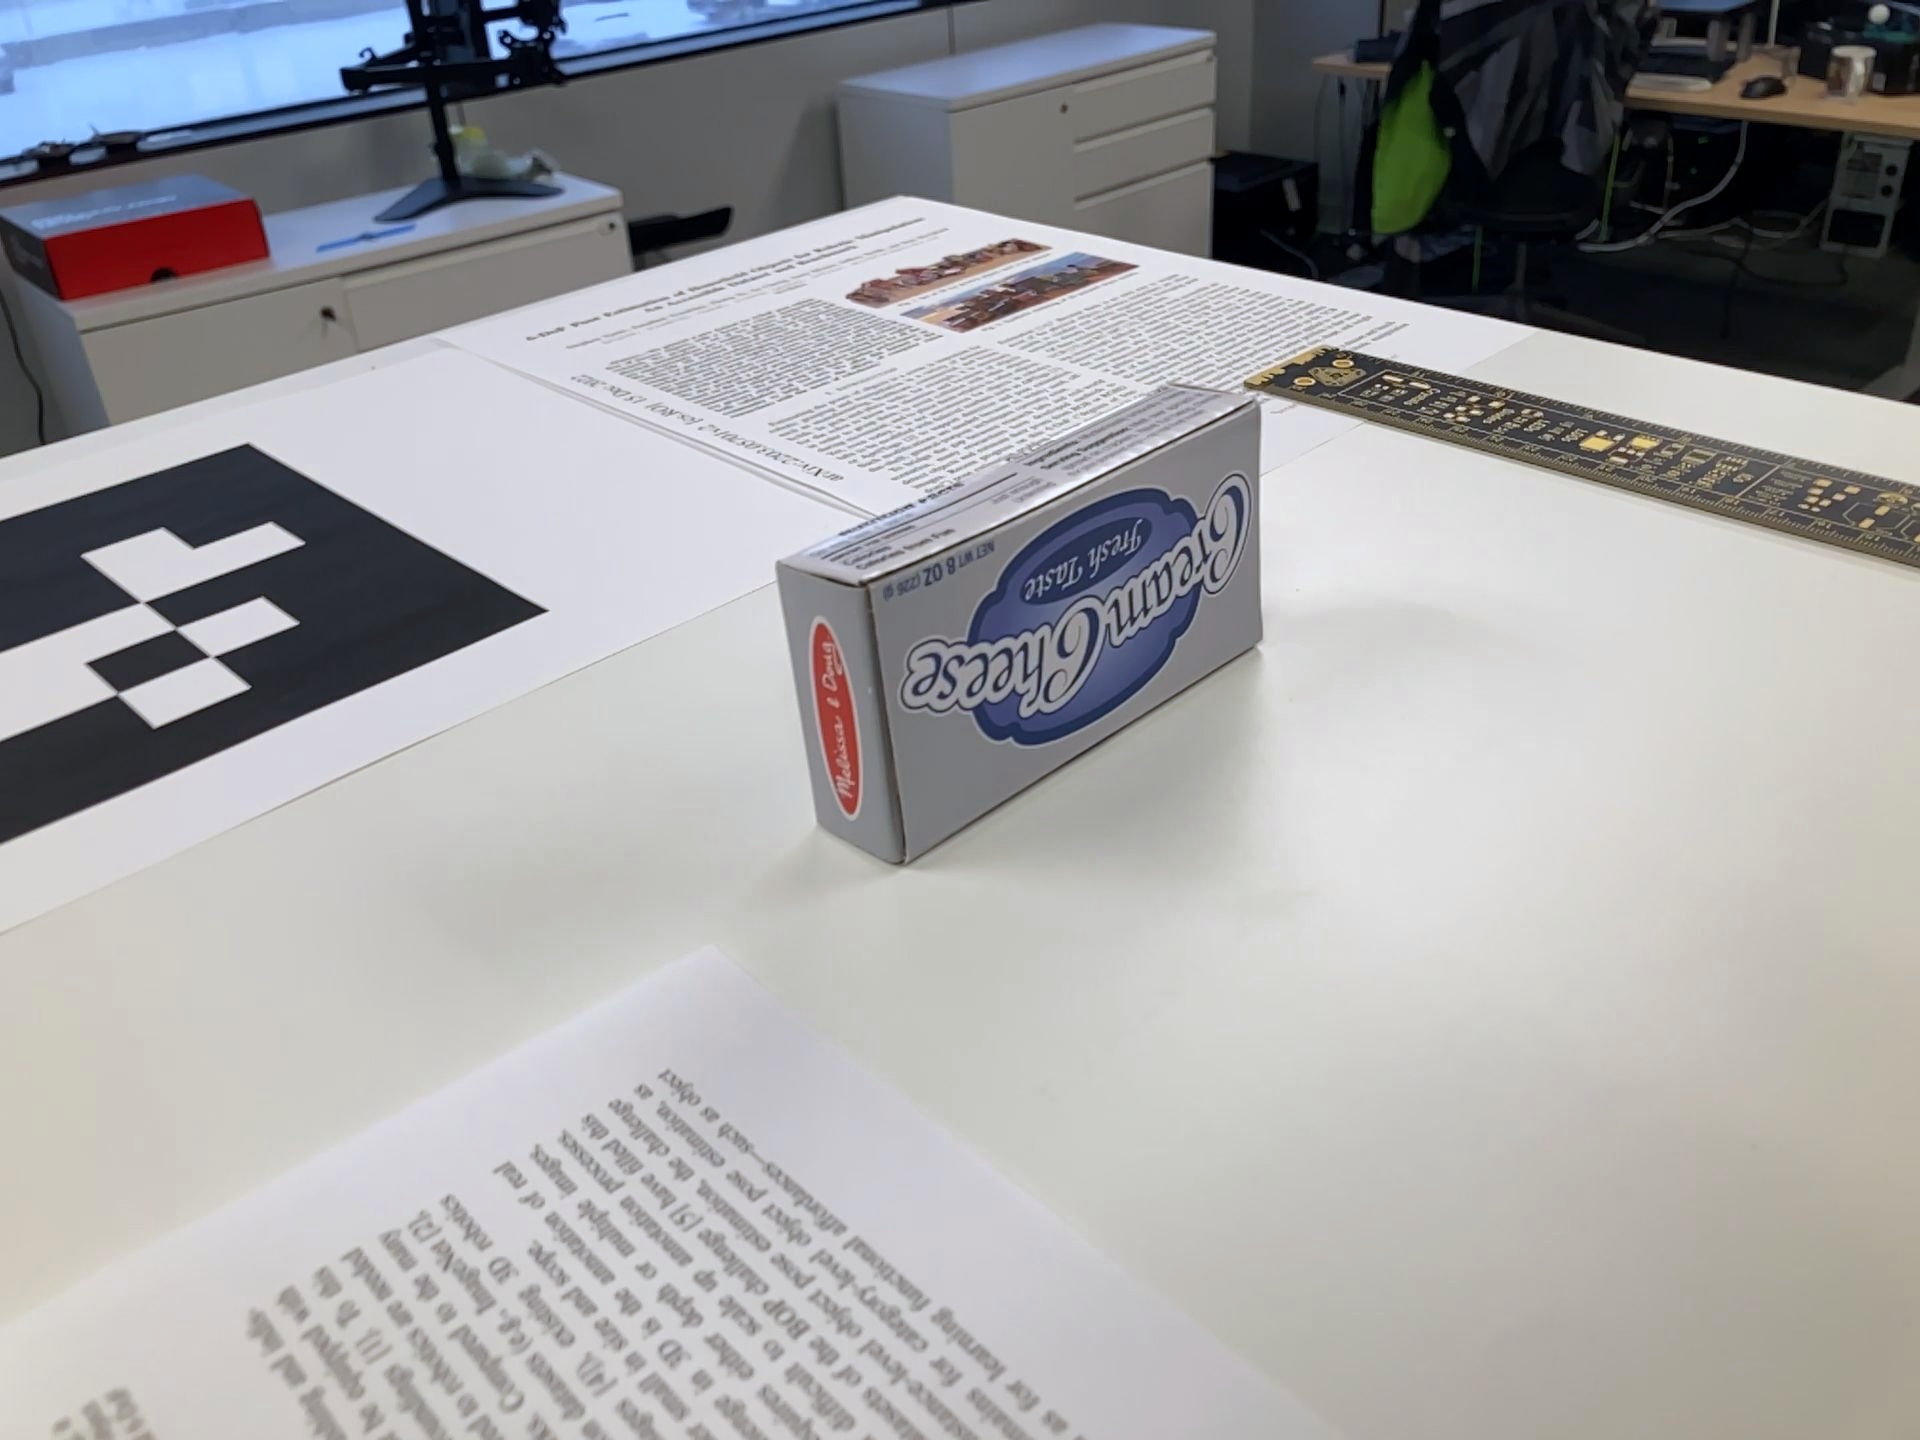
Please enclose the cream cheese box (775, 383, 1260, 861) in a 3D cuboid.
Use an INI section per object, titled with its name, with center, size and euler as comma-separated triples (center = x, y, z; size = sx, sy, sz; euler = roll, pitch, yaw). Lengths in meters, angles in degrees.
[cream cheese box]
center = 0.016, -0.022, 0.291
size = 0.104, 0.053, 0.024
euler = -29, 37, -36
